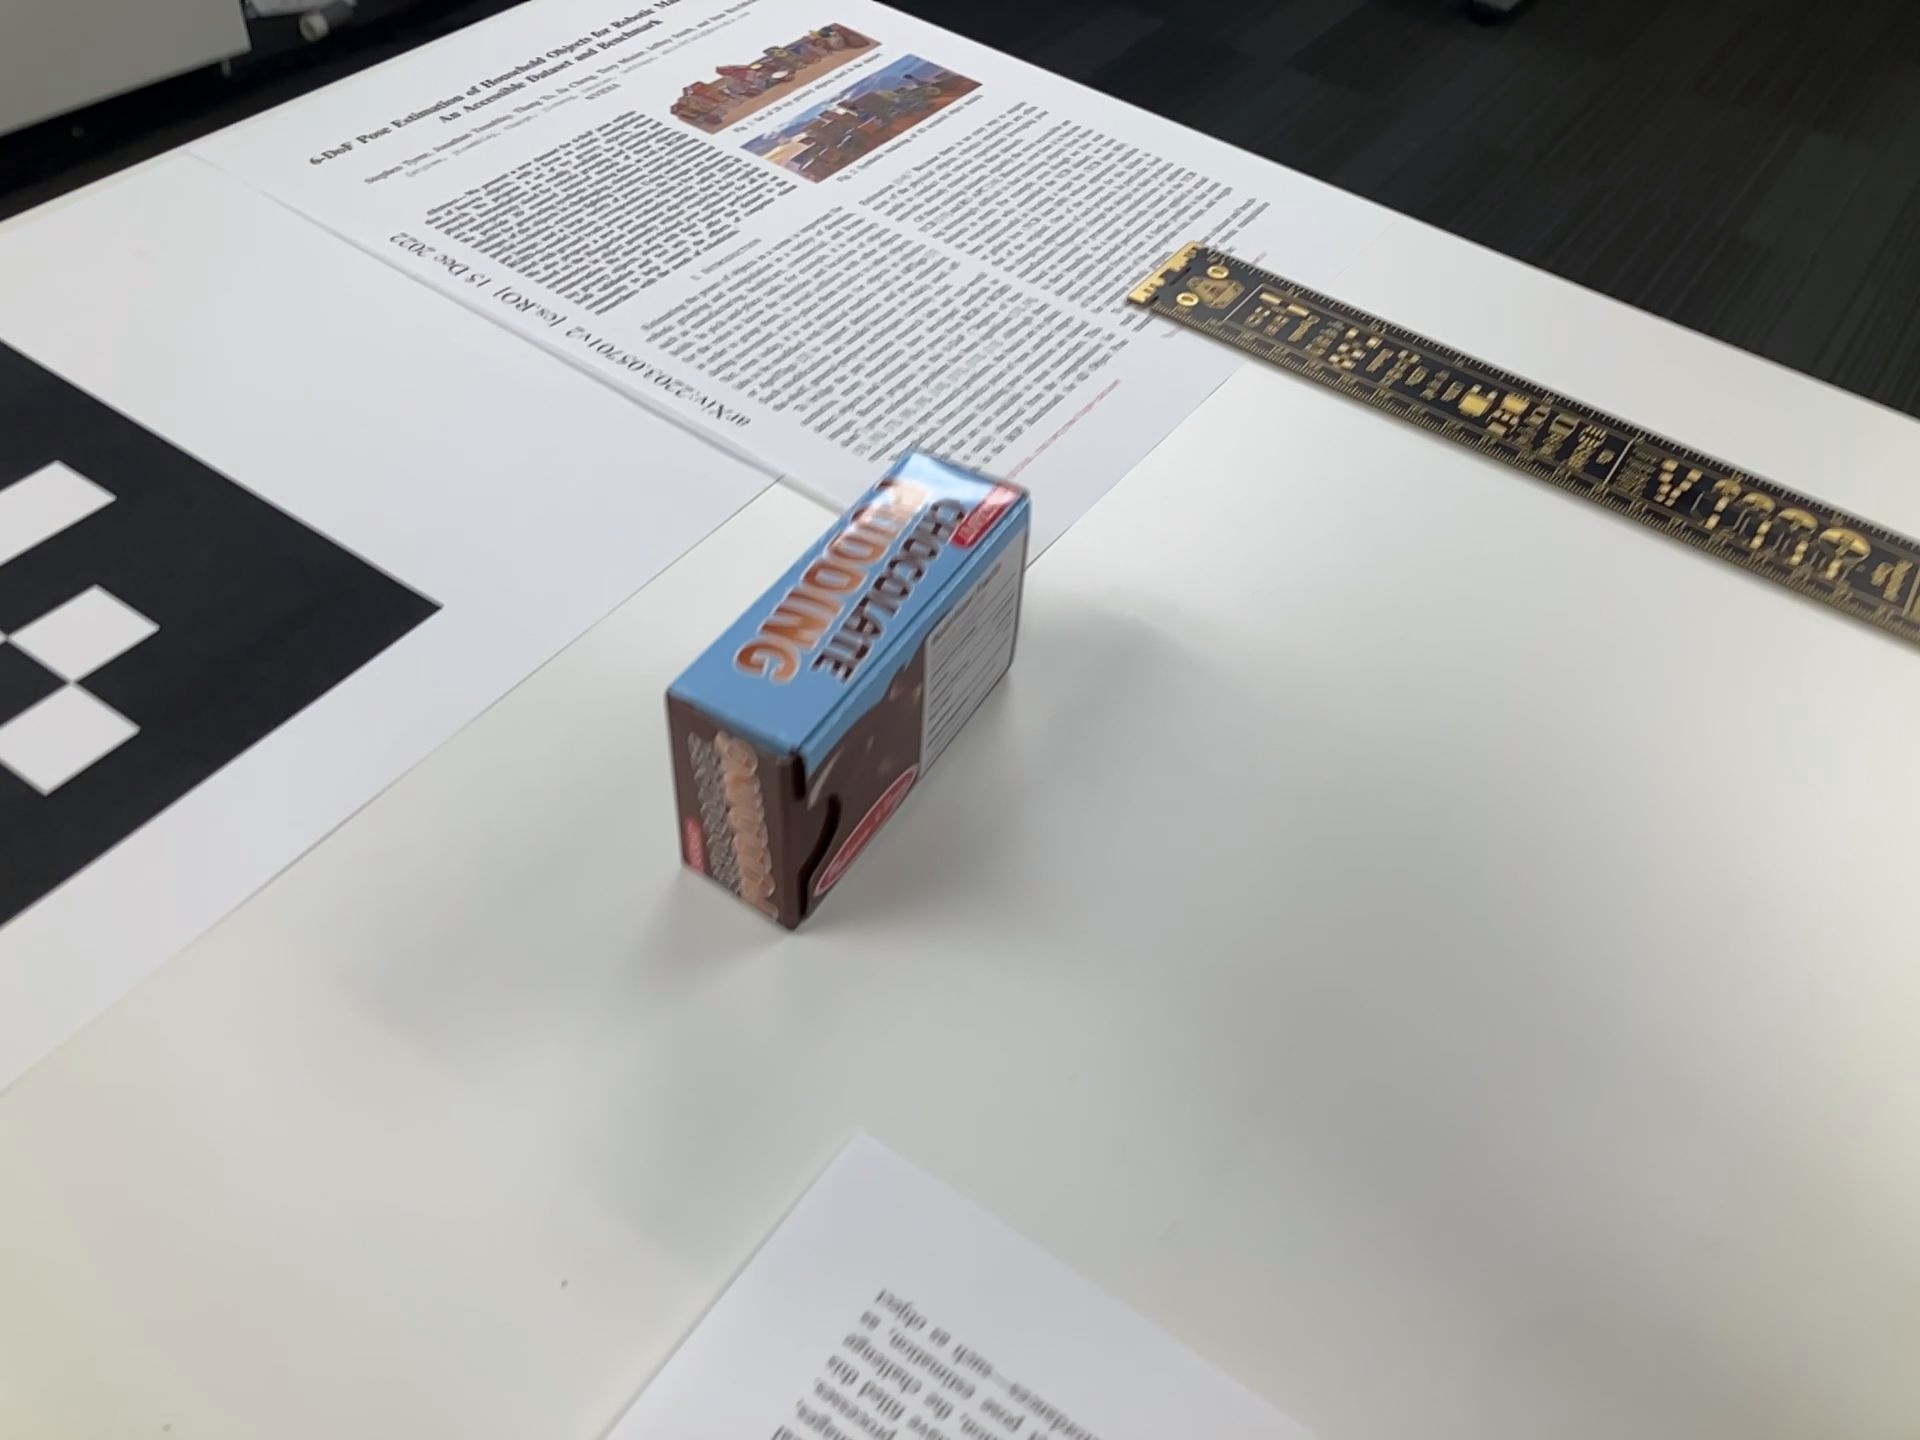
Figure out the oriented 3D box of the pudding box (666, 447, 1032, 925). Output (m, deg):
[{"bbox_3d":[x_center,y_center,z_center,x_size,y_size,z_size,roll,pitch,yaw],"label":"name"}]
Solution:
[{"bbox_3d":[-0.019,-0.009,0.304,0.030,0.049,0.083,25,51,18],"label":"pudding box"}]
